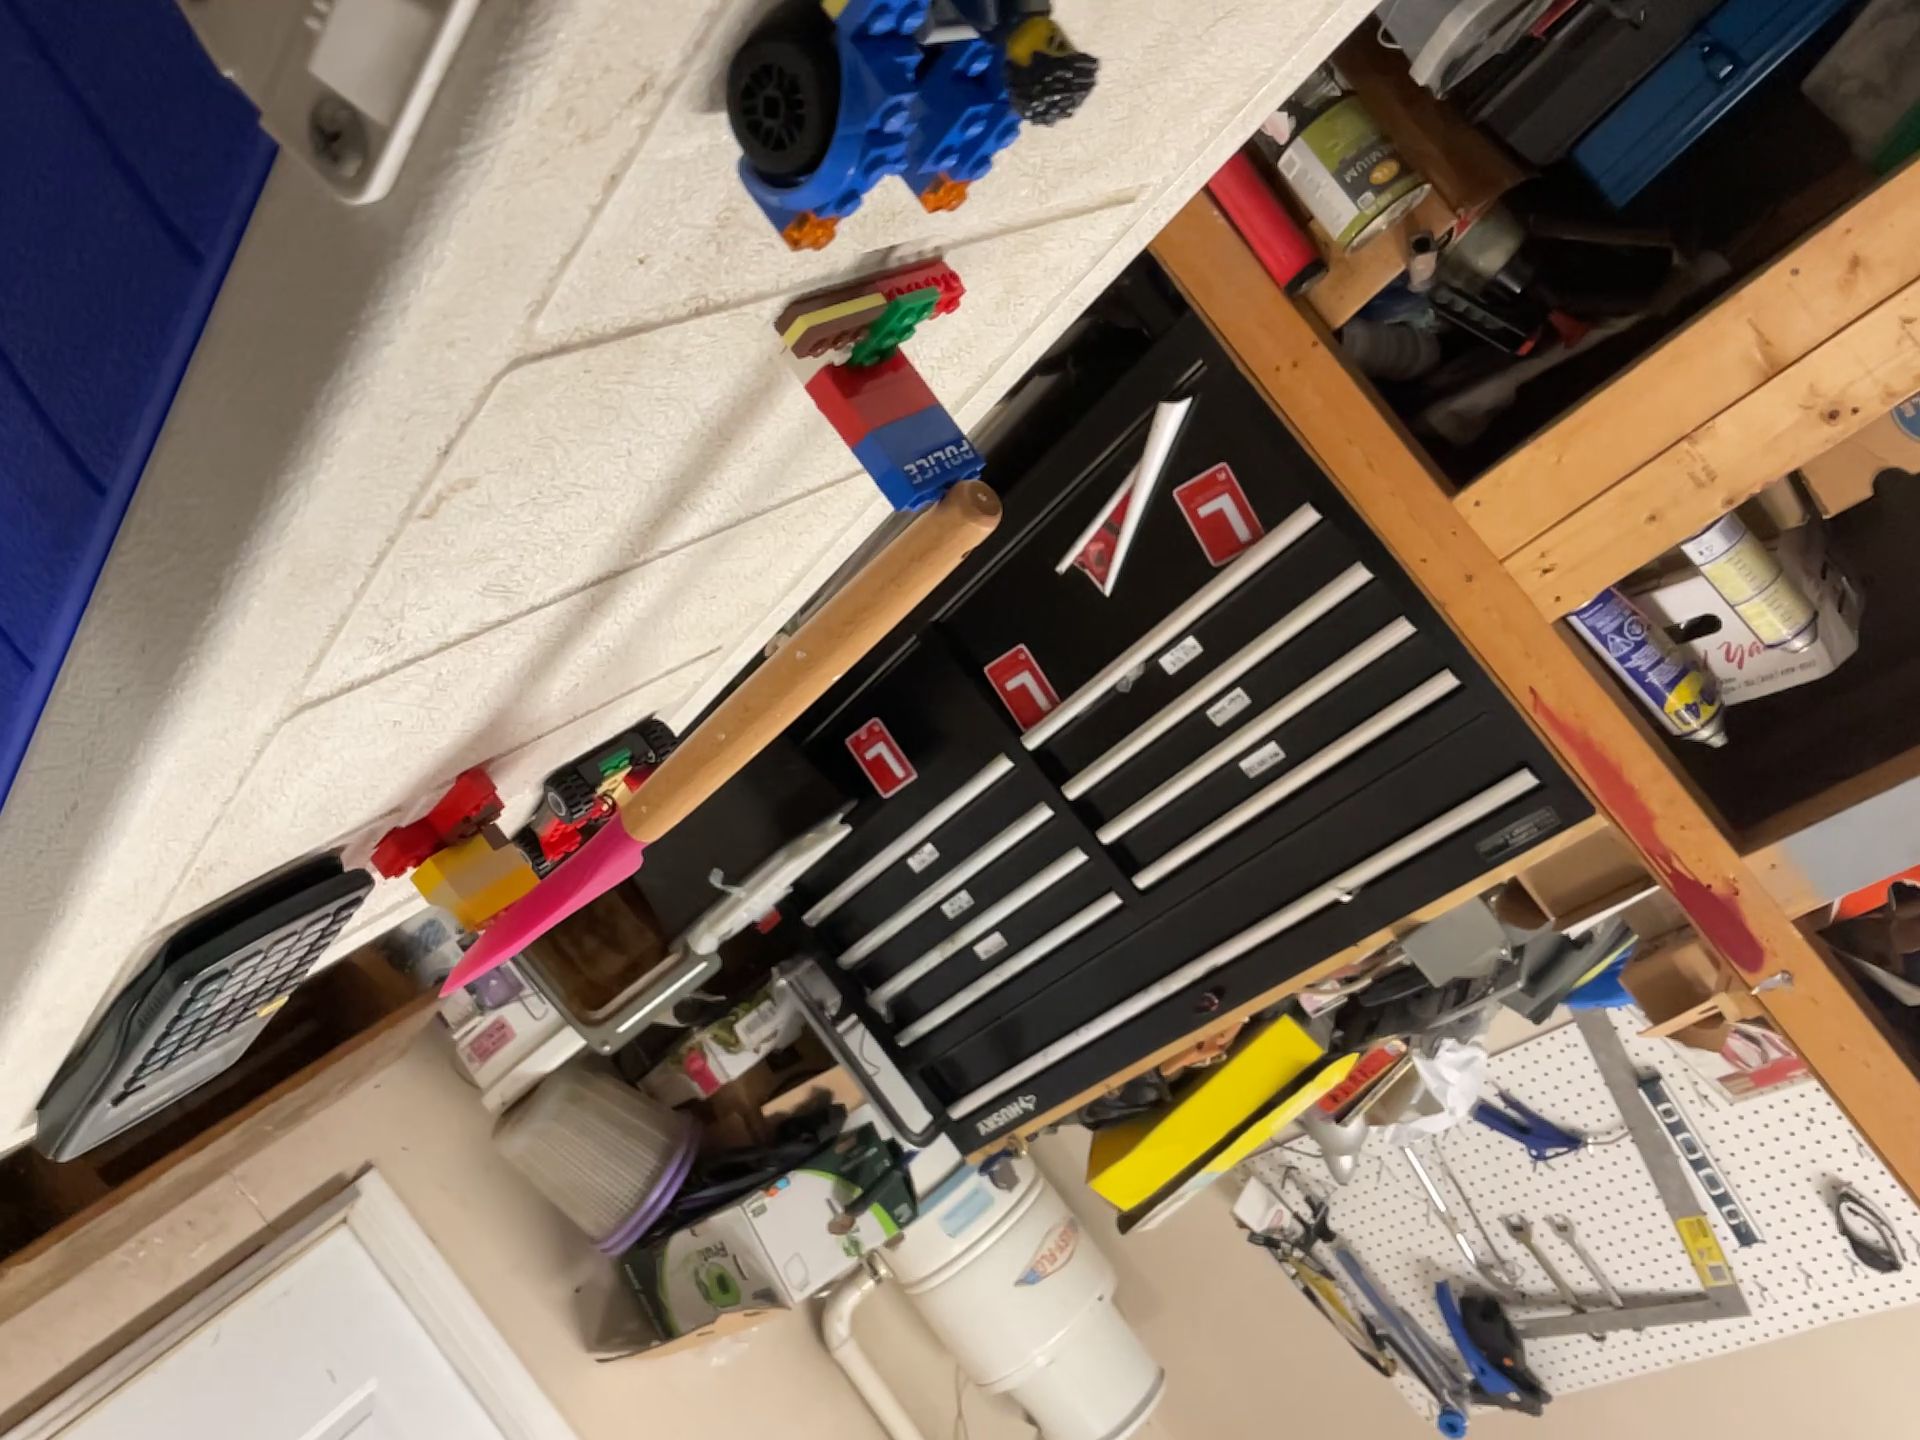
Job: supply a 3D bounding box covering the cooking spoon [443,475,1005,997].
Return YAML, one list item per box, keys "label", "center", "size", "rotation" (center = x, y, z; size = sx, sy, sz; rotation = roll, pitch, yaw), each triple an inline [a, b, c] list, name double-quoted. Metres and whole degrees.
- label: "cooking spoon"
  center: [-0.087, 0.019, 0.493]
  size: [0.318, 0.017, 0.069]
  rotation: [-38, 178, 41]
